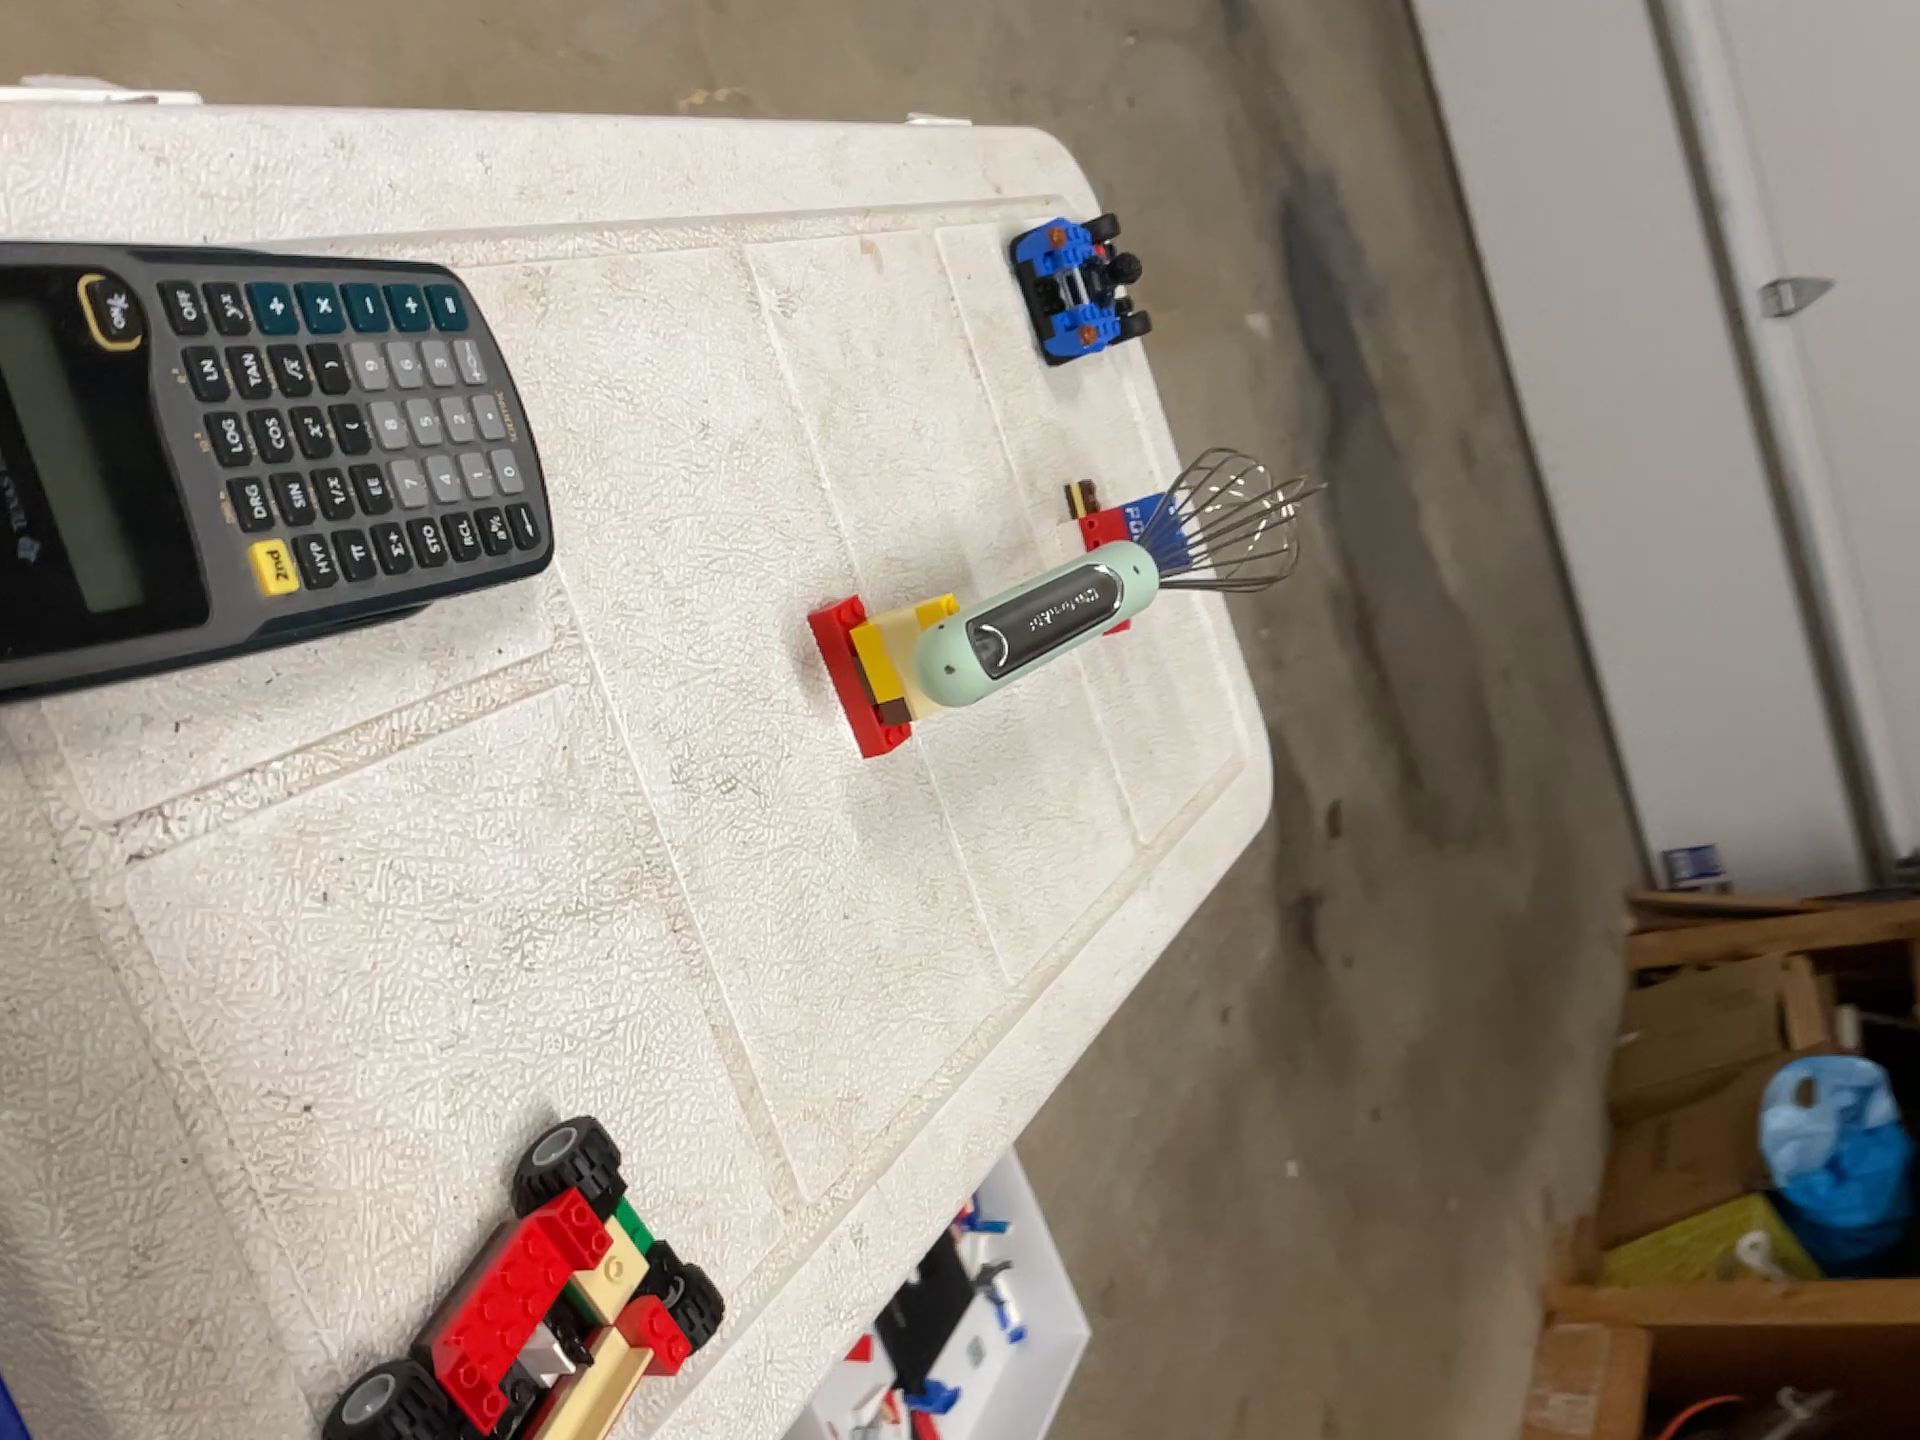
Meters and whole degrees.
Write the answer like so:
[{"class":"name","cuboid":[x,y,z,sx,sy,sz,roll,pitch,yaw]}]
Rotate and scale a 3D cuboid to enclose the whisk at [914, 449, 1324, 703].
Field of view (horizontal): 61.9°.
[{"class":"whisk","cuboid":[0.060,-0.051,0.542,0.246,0.059,0.058,-29,96,-51]}]
